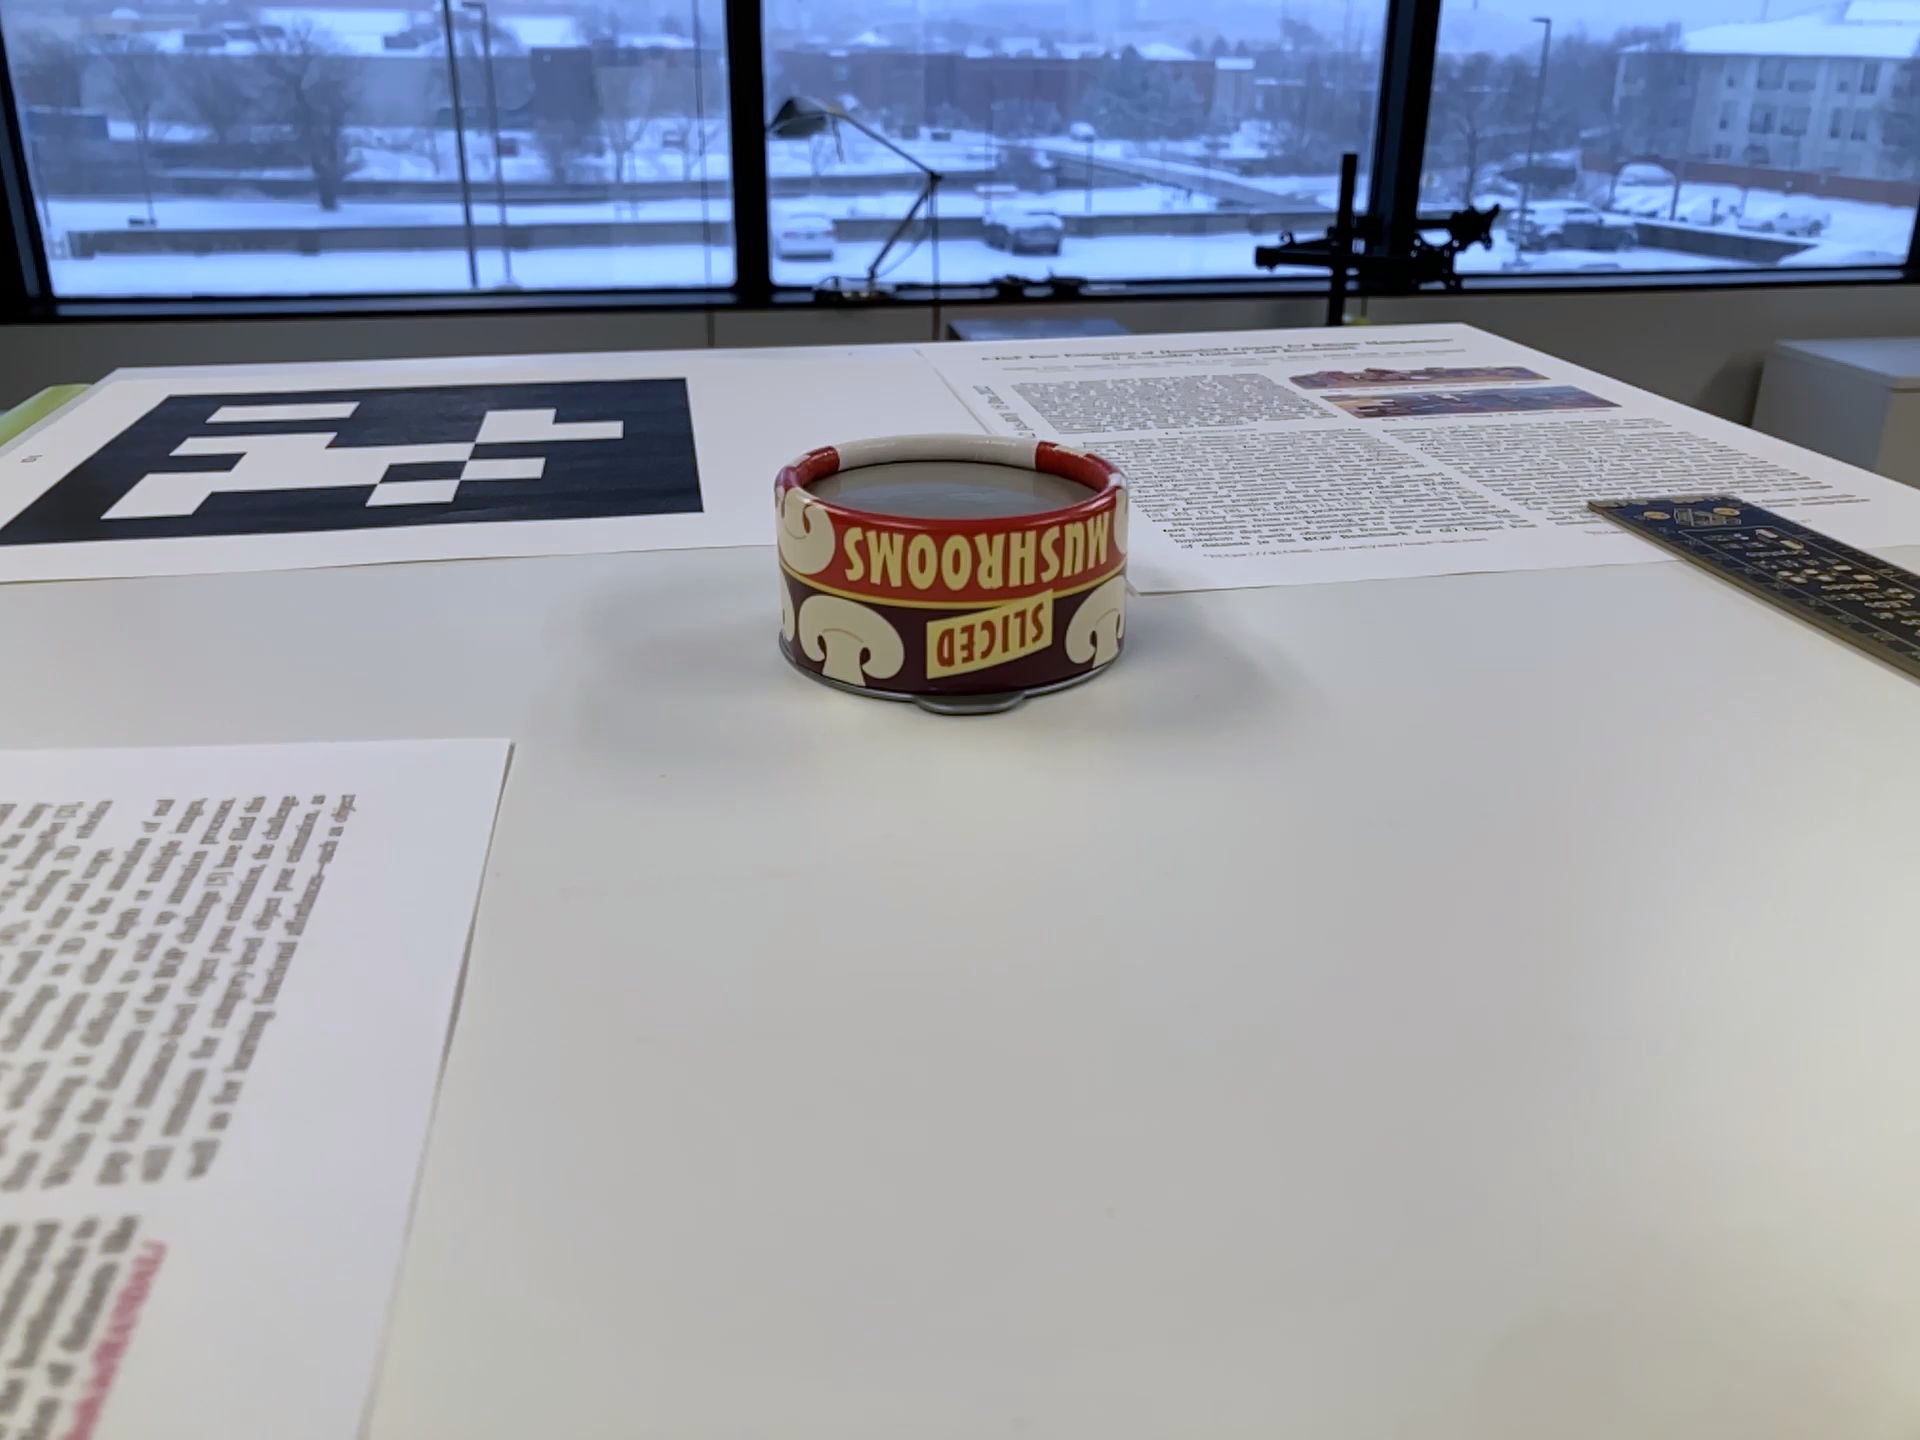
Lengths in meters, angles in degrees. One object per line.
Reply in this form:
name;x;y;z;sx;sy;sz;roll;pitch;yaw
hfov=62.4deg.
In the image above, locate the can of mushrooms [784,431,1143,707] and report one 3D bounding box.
can of mushrooms;0.001;-0.030;0.293;0.071;0.033;0.071;1;23;0
